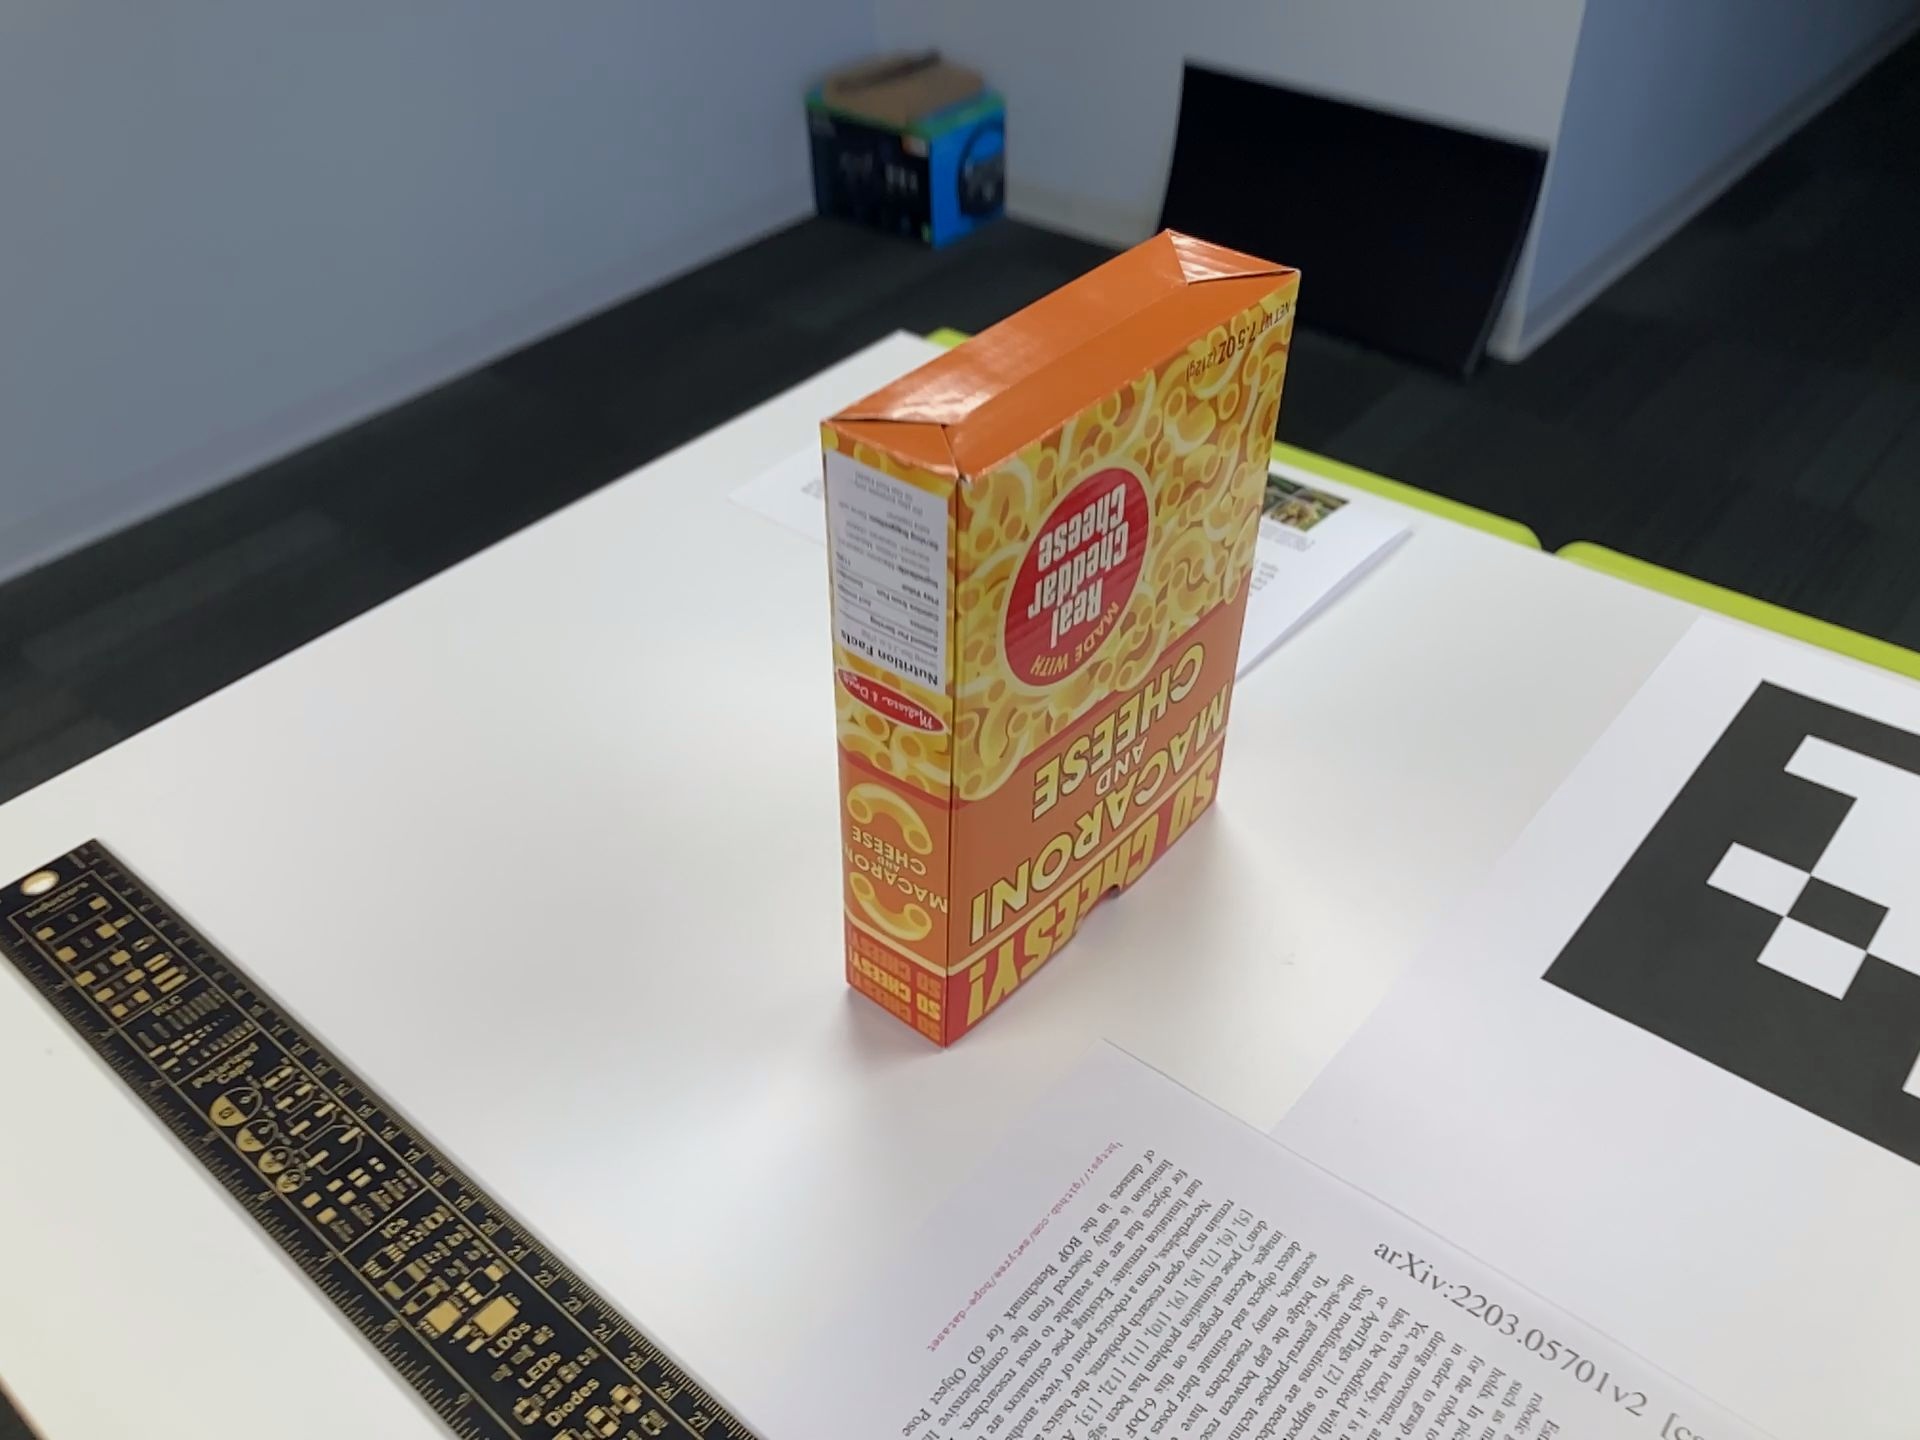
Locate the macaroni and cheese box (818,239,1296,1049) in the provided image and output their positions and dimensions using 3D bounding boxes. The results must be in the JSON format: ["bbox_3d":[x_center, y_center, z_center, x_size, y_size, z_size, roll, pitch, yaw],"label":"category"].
[{"bbox_3d":[0.023,-0.016,0.391,0.040,0.166,0.124,29,47,30],"label":"macaroni and cheese box"}]
